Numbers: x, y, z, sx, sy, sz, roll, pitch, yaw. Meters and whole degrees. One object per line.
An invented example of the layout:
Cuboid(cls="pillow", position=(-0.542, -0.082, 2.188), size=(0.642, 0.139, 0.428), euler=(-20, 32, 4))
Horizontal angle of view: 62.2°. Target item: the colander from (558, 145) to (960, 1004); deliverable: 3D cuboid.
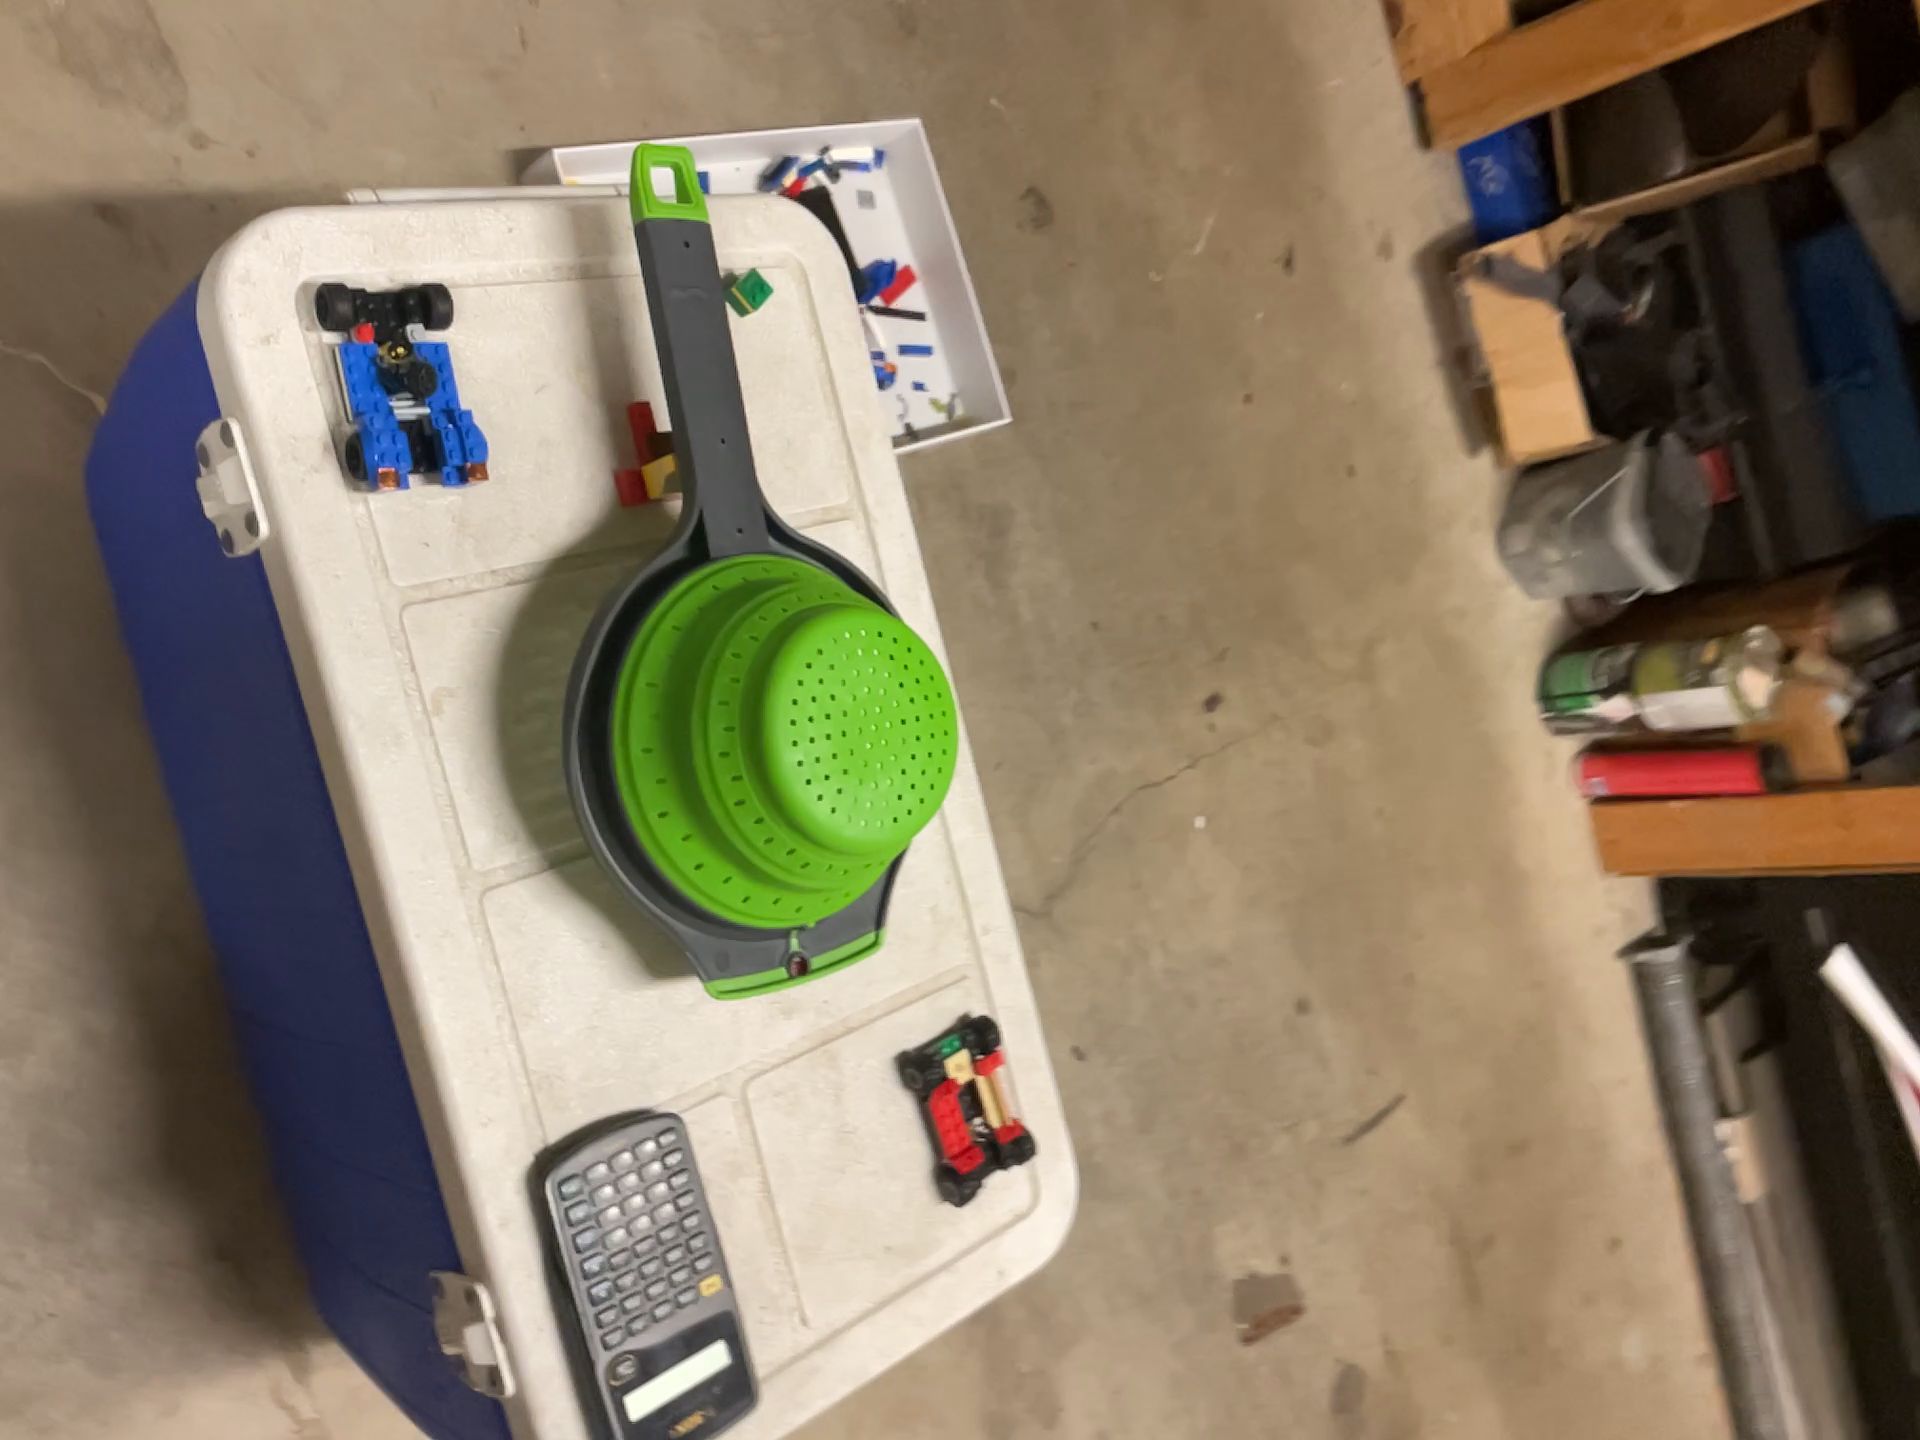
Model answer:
Cuboid(cls="colander", position=(-0.083, -0.073, 0.719), size=(0.204, 0.094, 0.397), euler=(-11, 92, -41))
